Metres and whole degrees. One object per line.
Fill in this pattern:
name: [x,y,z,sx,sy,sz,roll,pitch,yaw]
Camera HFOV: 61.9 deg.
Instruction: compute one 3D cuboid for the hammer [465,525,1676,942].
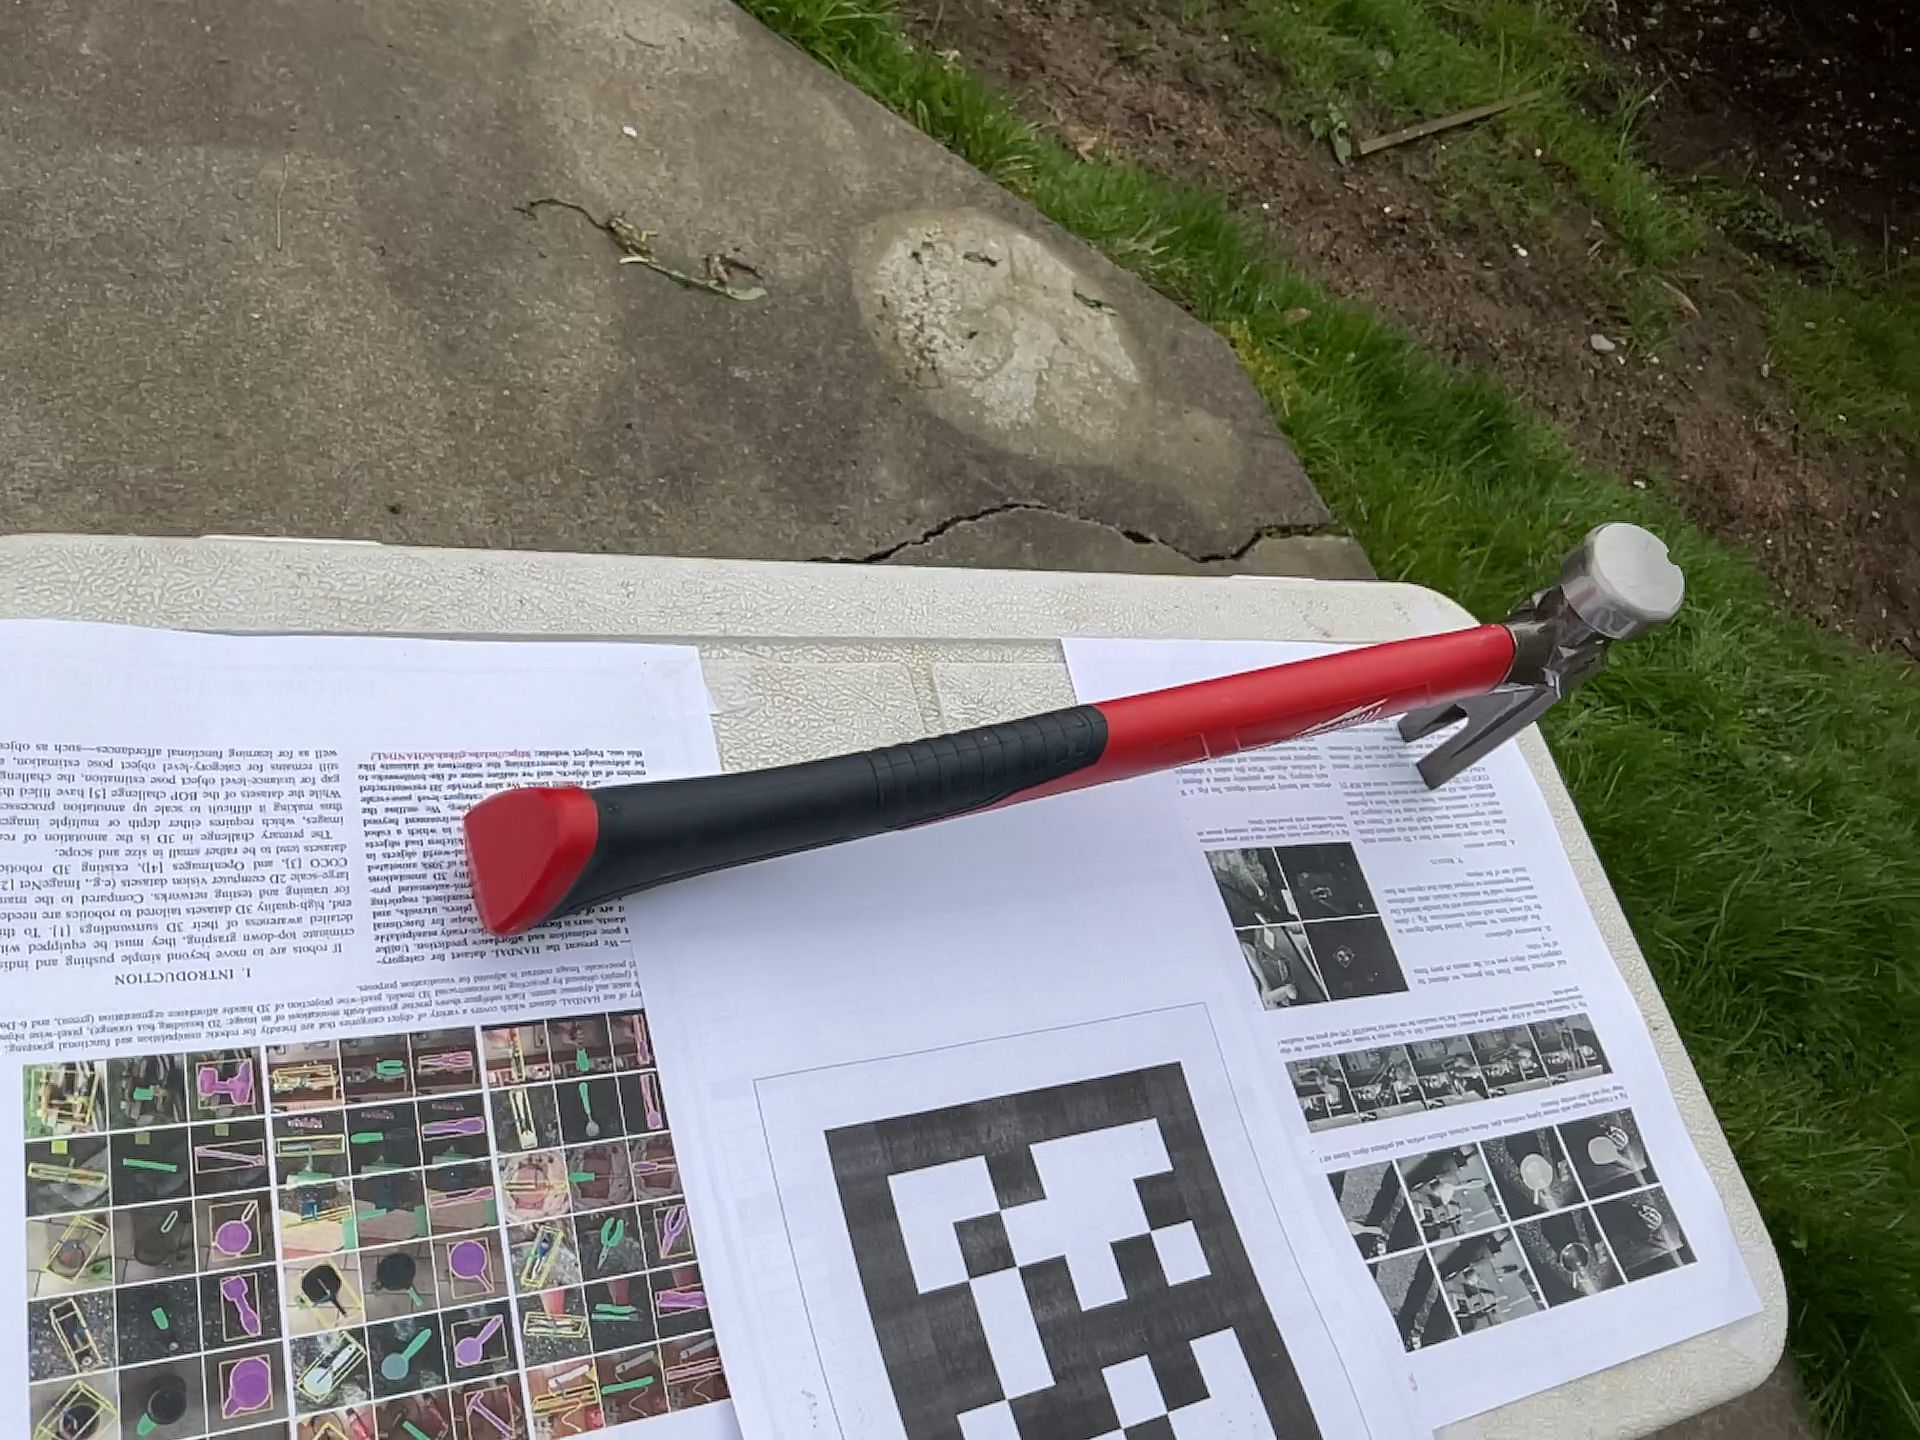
hammer: [0.042,0.014,0.509,0.386,0.143,0.038,-11,67,-24]
